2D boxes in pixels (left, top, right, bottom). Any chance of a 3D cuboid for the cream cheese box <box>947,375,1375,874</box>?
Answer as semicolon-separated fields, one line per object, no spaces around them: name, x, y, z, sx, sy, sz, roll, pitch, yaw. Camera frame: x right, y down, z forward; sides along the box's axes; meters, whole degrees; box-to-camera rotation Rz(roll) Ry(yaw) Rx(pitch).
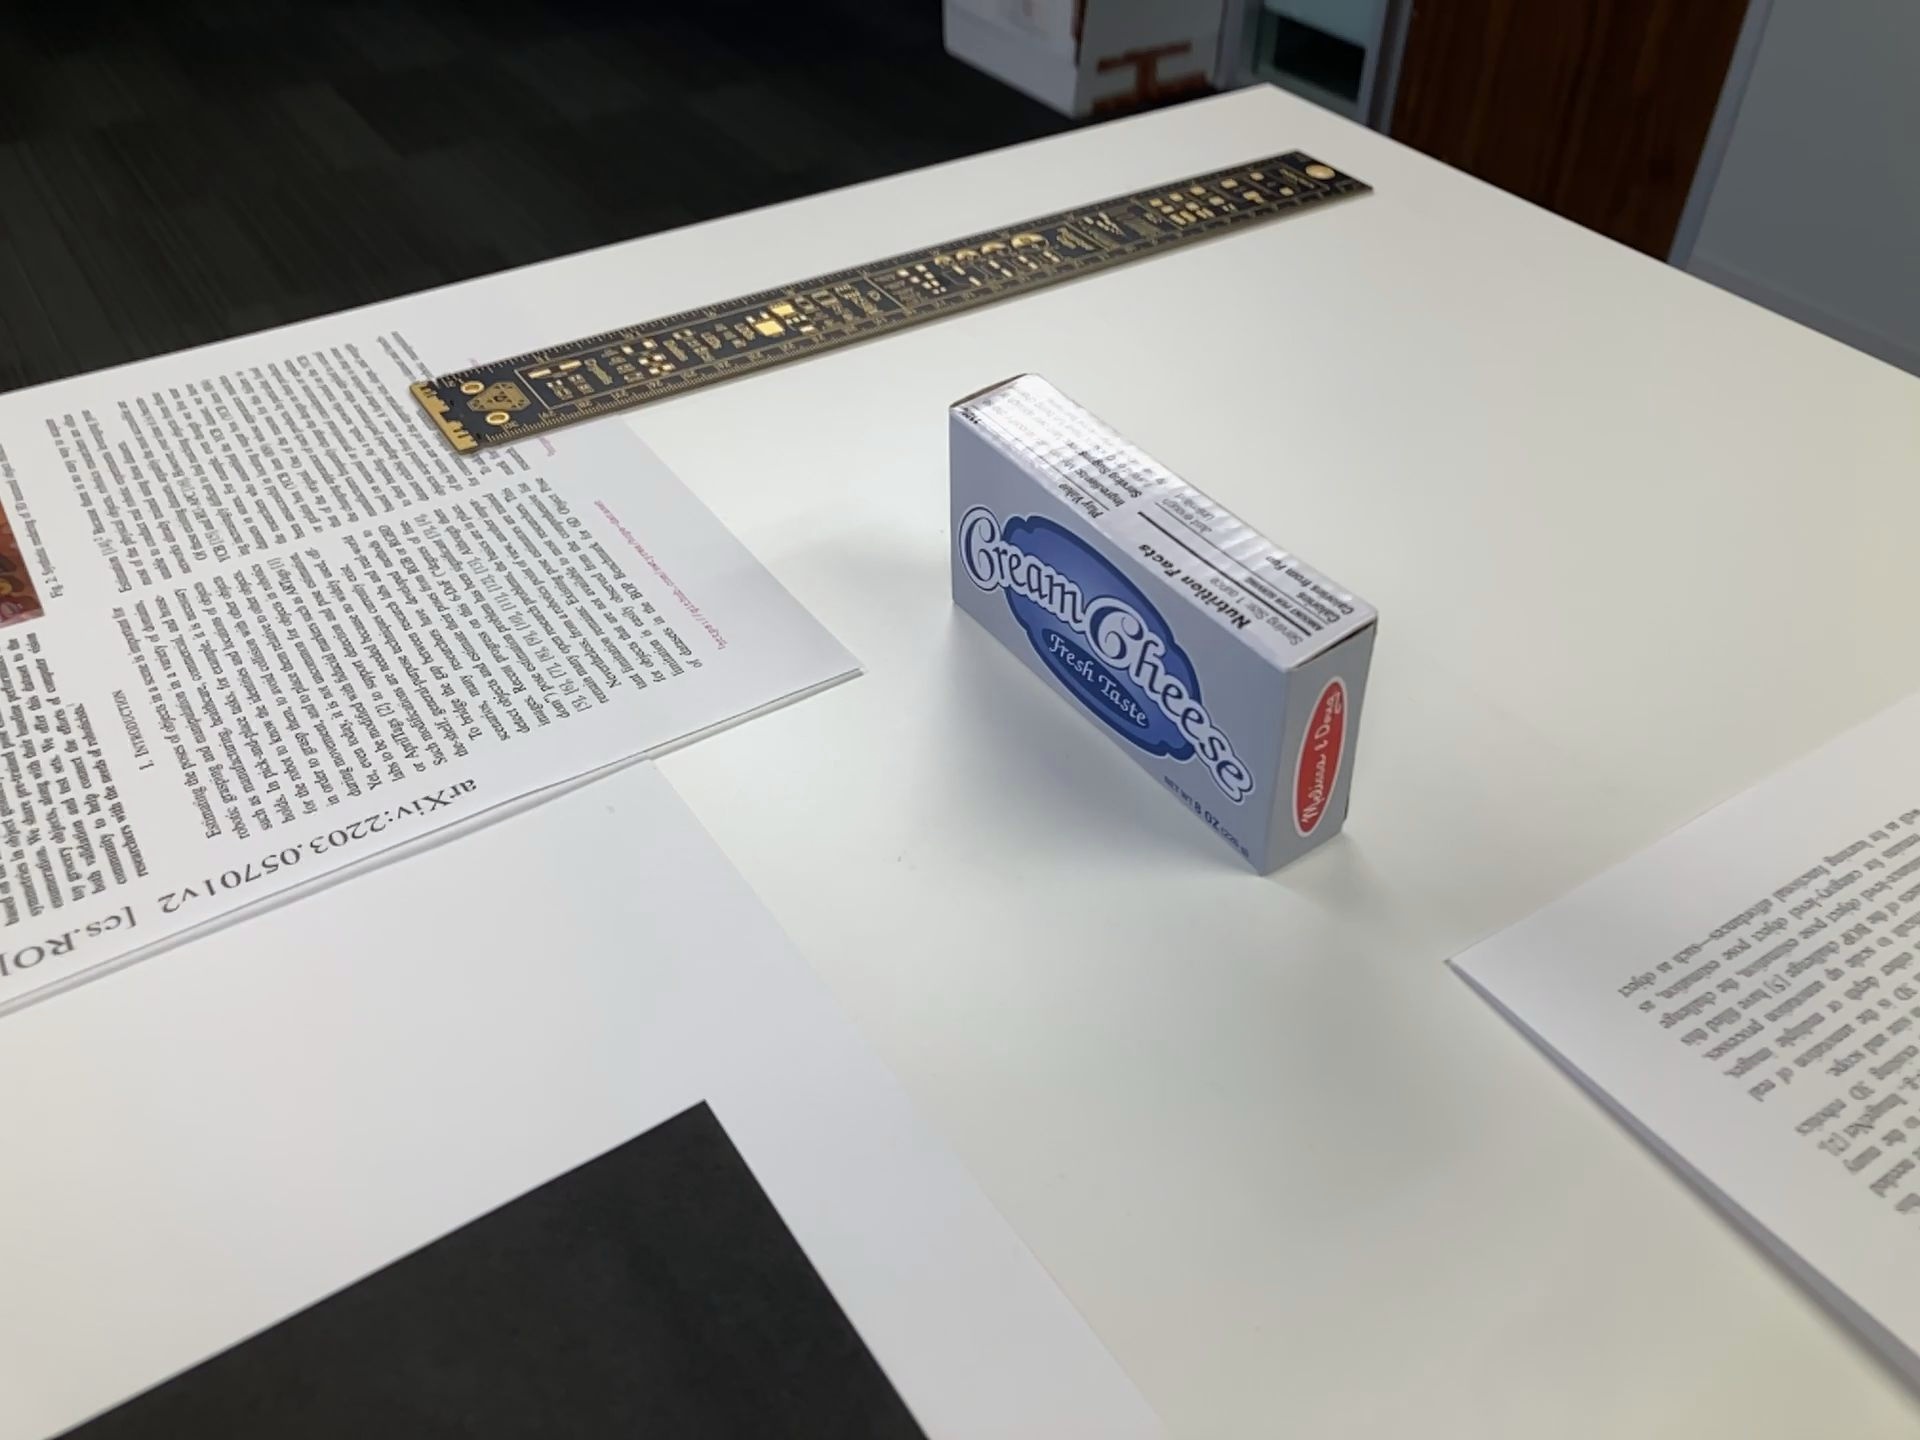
cream cheese box;0.035;-0.022;0.314;0.024;0.053;0.104;-25;47;-24
